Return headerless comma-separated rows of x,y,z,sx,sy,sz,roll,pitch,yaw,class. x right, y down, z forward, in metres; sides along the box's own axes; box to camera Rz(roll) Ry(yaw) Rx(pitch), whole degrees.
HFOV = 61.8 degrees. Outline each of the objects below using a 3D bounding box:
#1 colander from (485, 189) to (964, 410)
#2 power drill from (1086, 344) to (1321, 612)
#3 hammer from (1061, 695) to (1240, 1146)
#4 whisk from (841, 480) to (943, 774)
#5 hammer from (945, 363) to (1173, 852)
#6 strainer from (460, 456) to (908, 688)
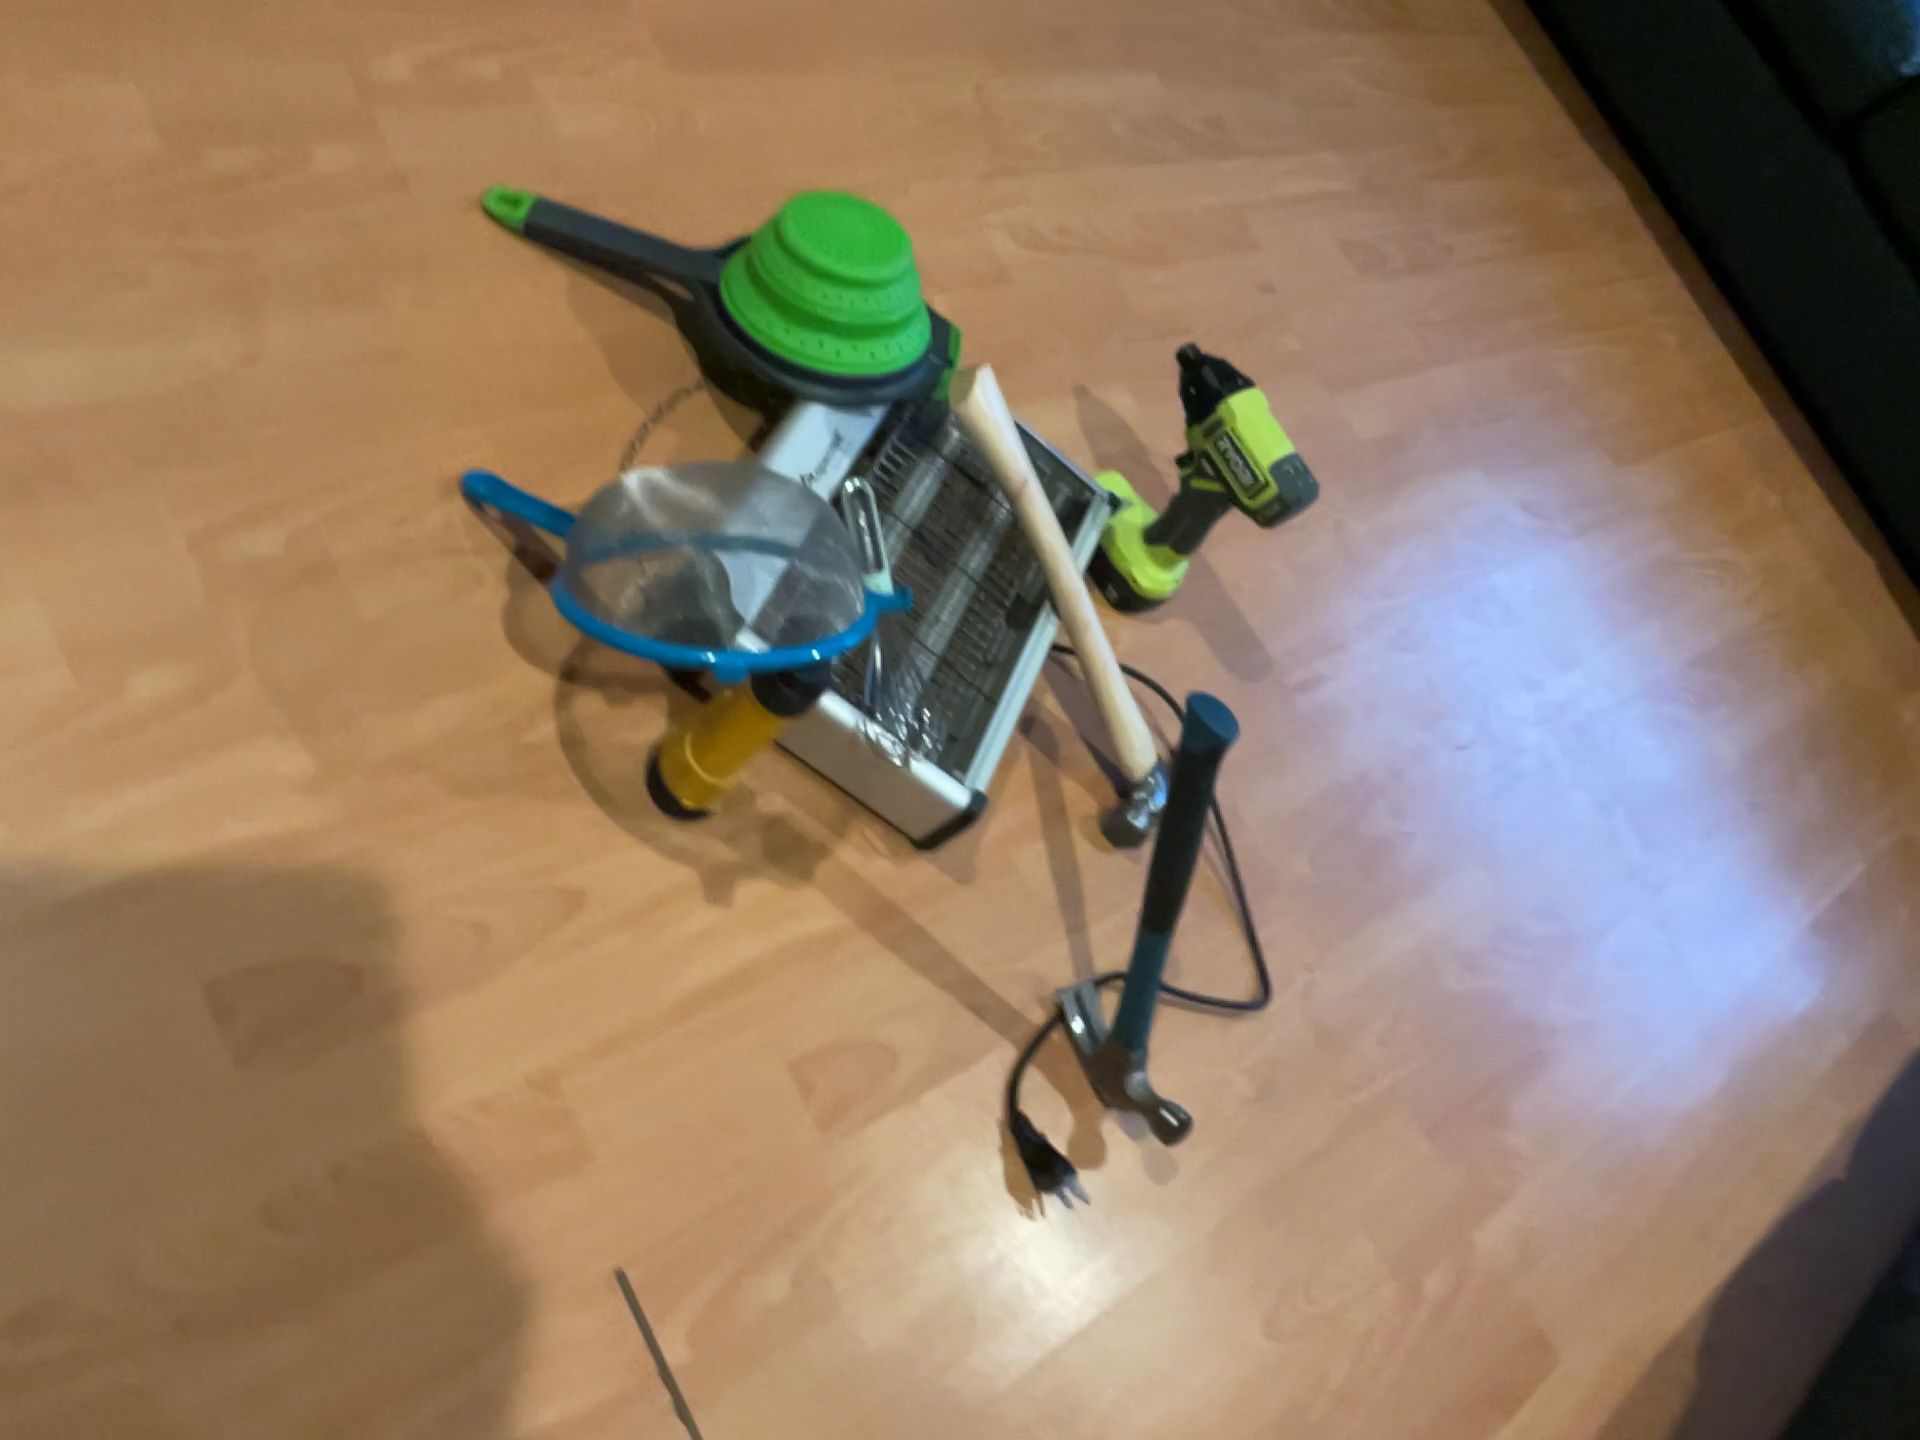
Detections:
-0.178,-0.374,1.275,0.397,0.094,0.205,18,48,-6,colander
0.192,-0.208,1.410,0.080,0.223,0.171,-26,81,-41,power drill
0.146,0.139,1.147,0.033,0.330,0.128,-12,32,-38,hammer
-0.058,-0.073,1.174,0.058,0.059,0.246,-9,64,-6,whisk
0.095,-0.100,1.306,0.146,0.038,0.410,-45,118,-41,hammer
-0.208,-0.139,1.065,0.340,0.095,0.211,25,30,25,strainer
